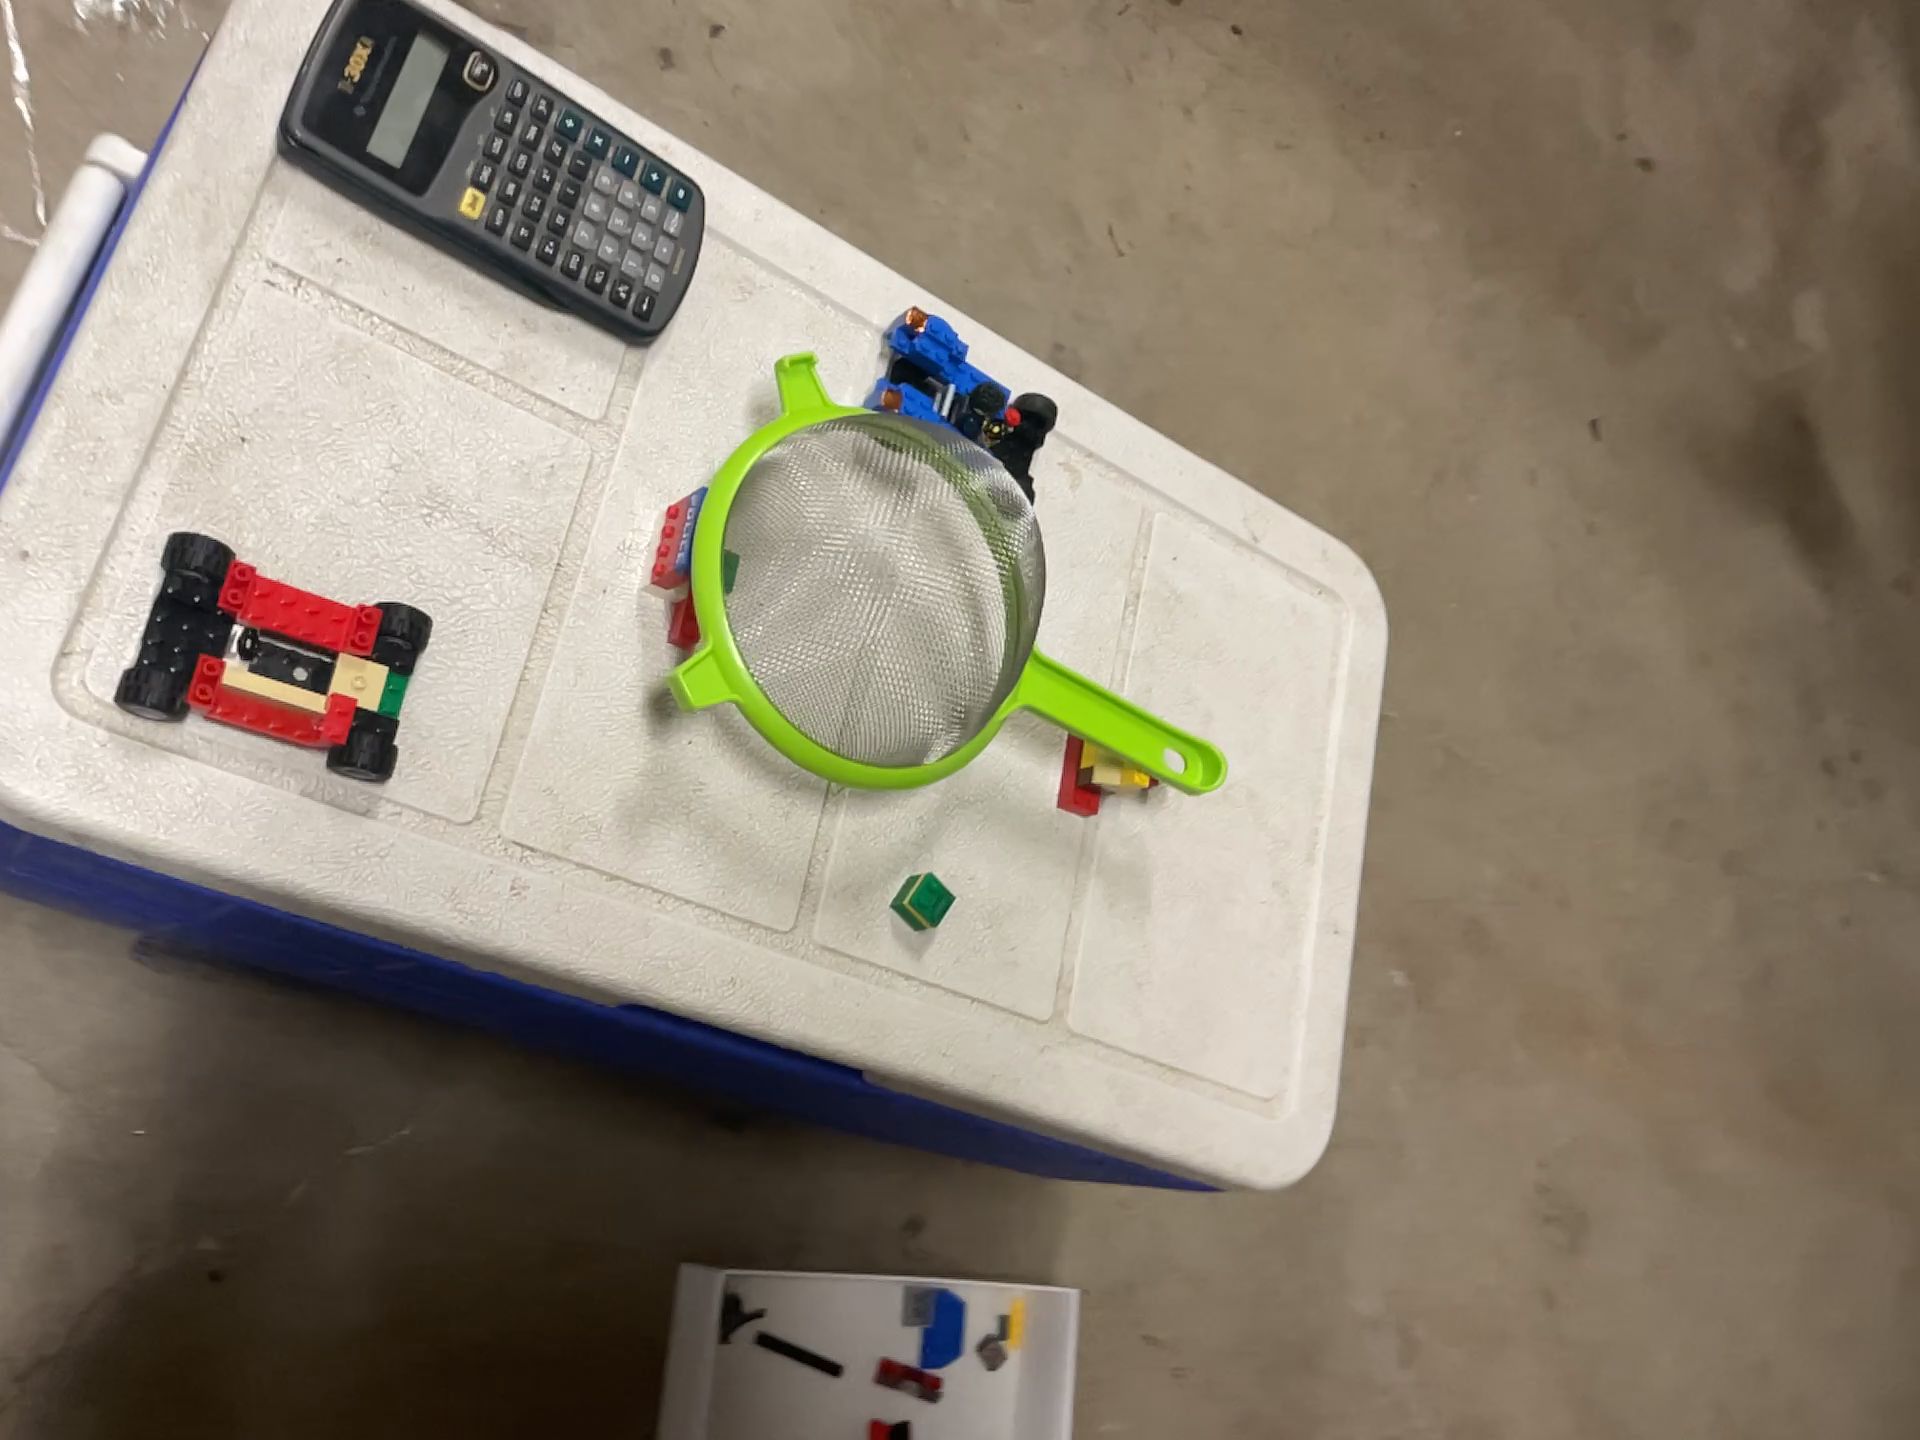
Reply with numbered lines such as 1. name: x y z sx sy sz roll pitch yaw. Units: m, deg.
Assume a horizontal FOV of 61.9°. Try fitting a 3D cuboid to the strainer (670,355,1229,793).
1. strainer: 0.023 -0.032 0.619 0.256 0.069 0.152 27 64 -27
